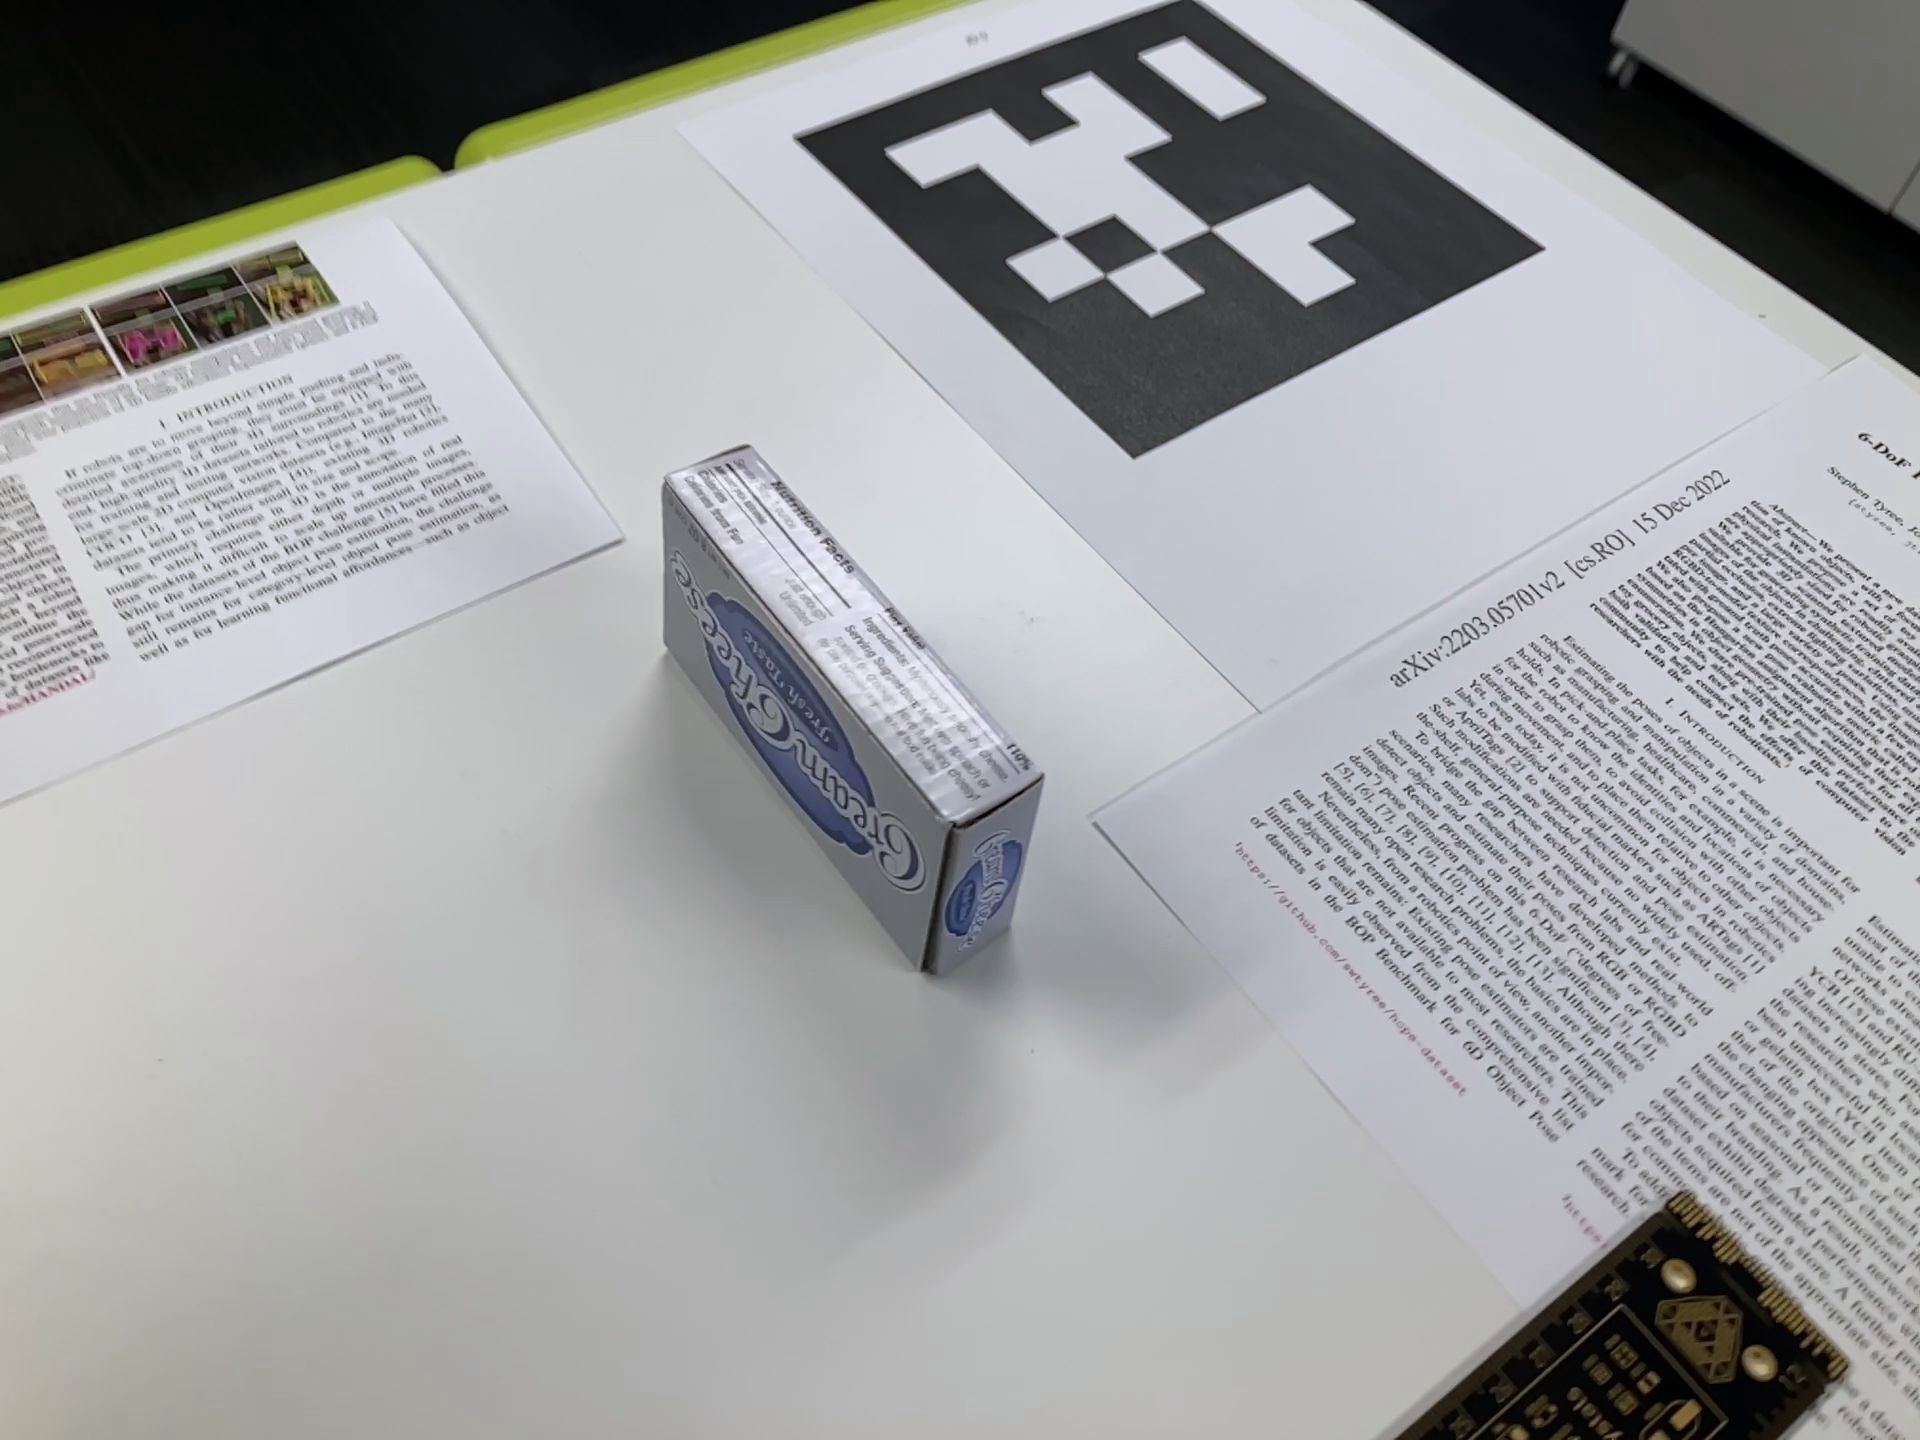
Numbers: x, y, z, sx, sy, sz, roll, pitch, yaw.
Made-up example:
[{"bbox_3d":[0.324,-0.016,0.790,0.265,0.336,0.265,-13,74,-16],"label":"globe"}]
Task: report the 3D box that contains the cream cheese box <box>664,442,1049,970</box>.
[{"bbox_3d":[-0.025,-0.004,0.323,0.024,0.053,0.104,-28,61,-25],"label":"cream cheese box"}]
